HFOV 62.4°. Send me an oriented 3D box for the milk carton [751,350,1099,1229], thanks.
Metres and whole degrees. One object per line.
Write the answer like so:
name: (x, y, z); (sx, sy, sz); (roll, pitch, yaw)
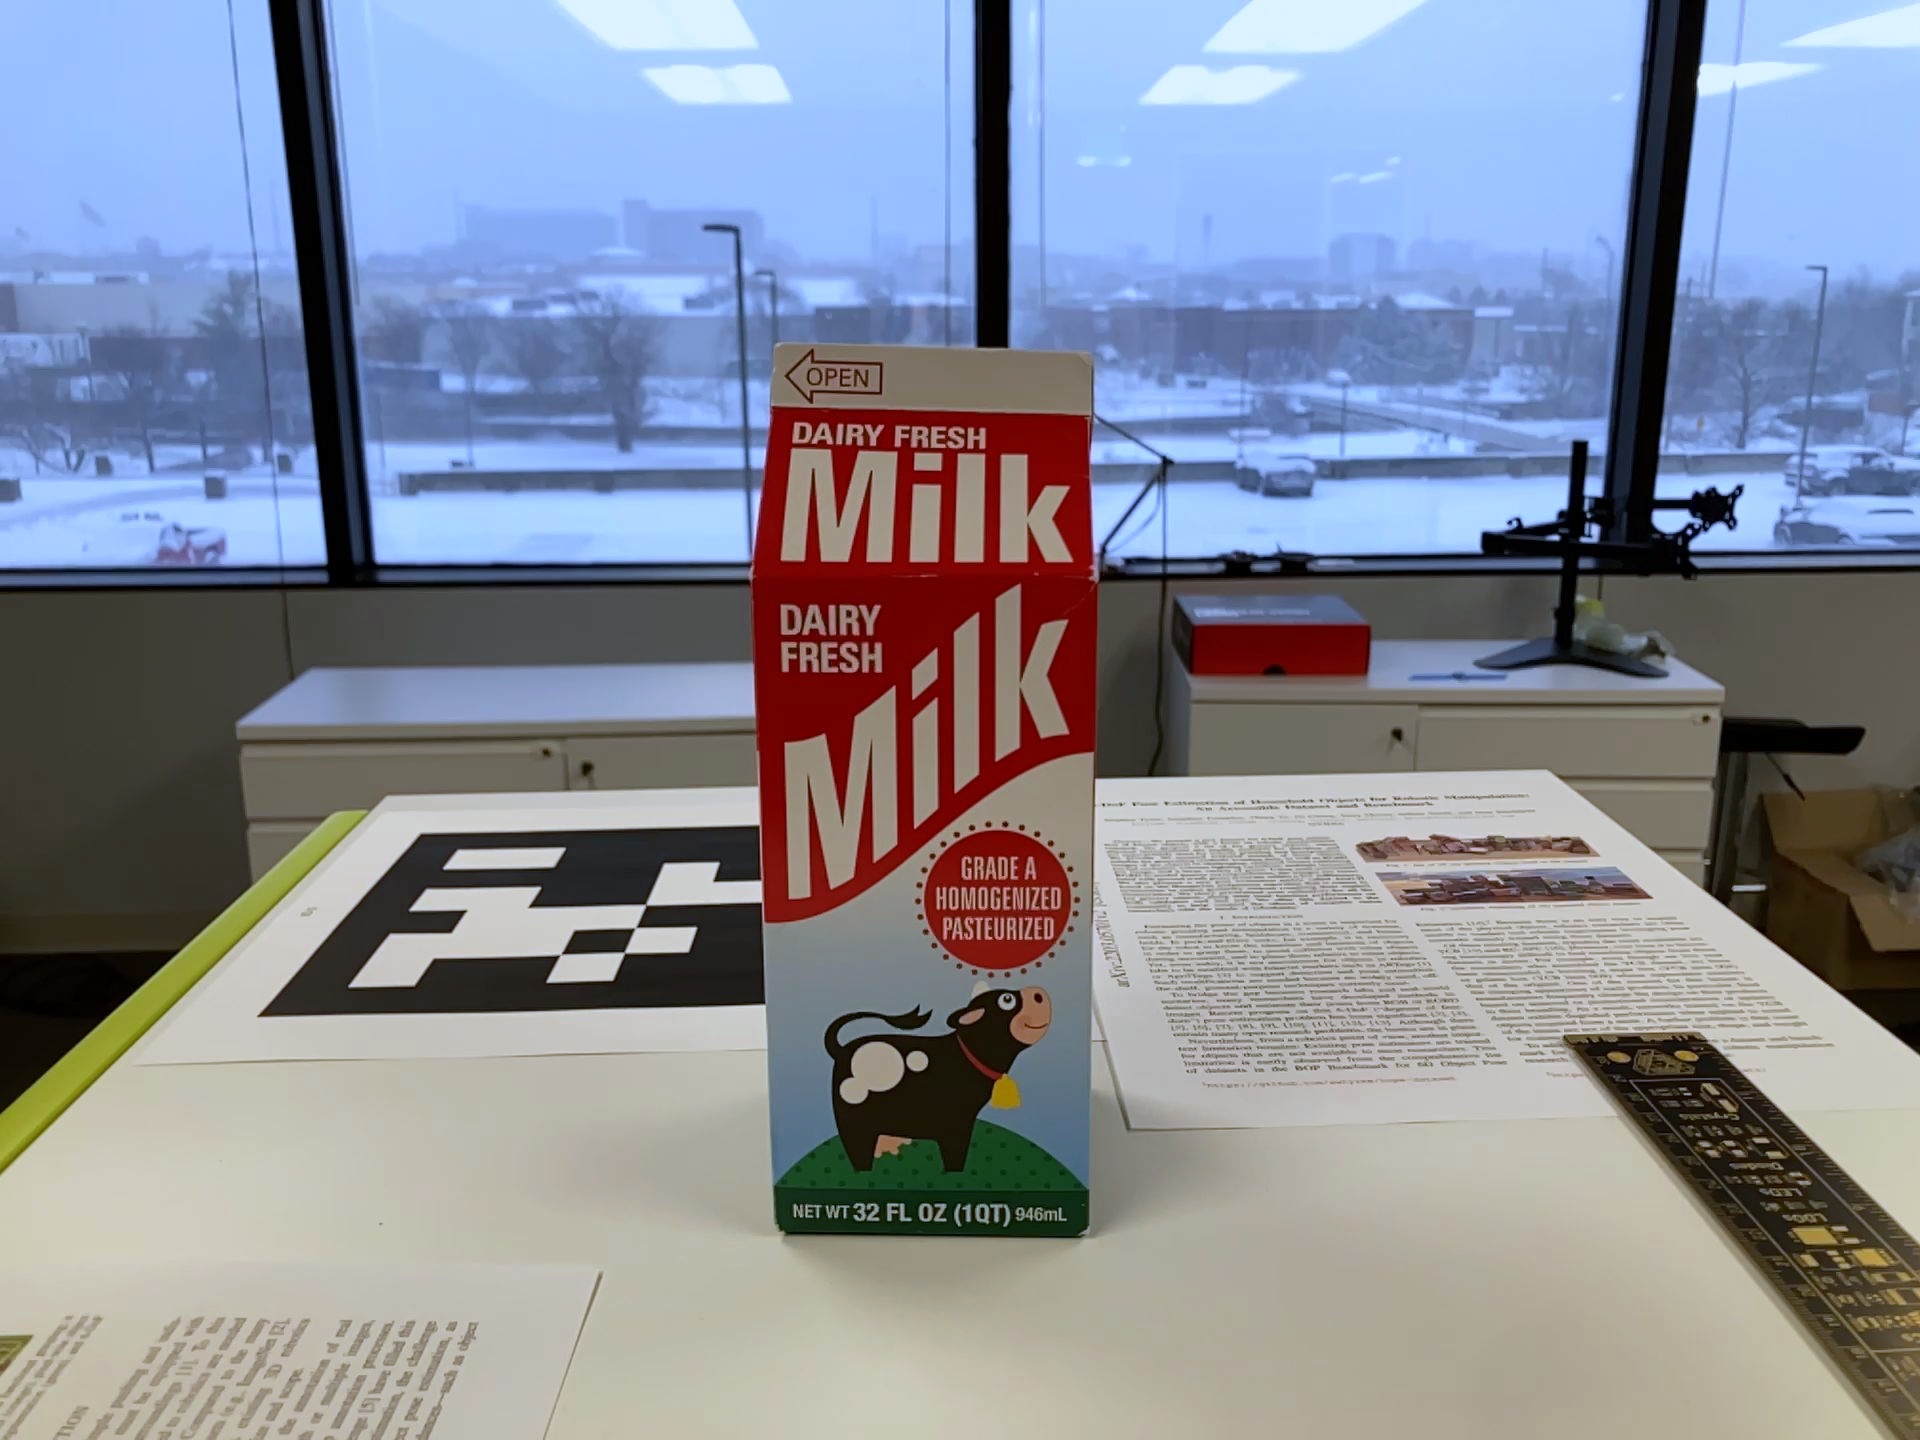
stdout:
milk carton: (-0.006, 0.013, 0.364); (0.072, 0.190, 0.073); (1, 14, 2)
